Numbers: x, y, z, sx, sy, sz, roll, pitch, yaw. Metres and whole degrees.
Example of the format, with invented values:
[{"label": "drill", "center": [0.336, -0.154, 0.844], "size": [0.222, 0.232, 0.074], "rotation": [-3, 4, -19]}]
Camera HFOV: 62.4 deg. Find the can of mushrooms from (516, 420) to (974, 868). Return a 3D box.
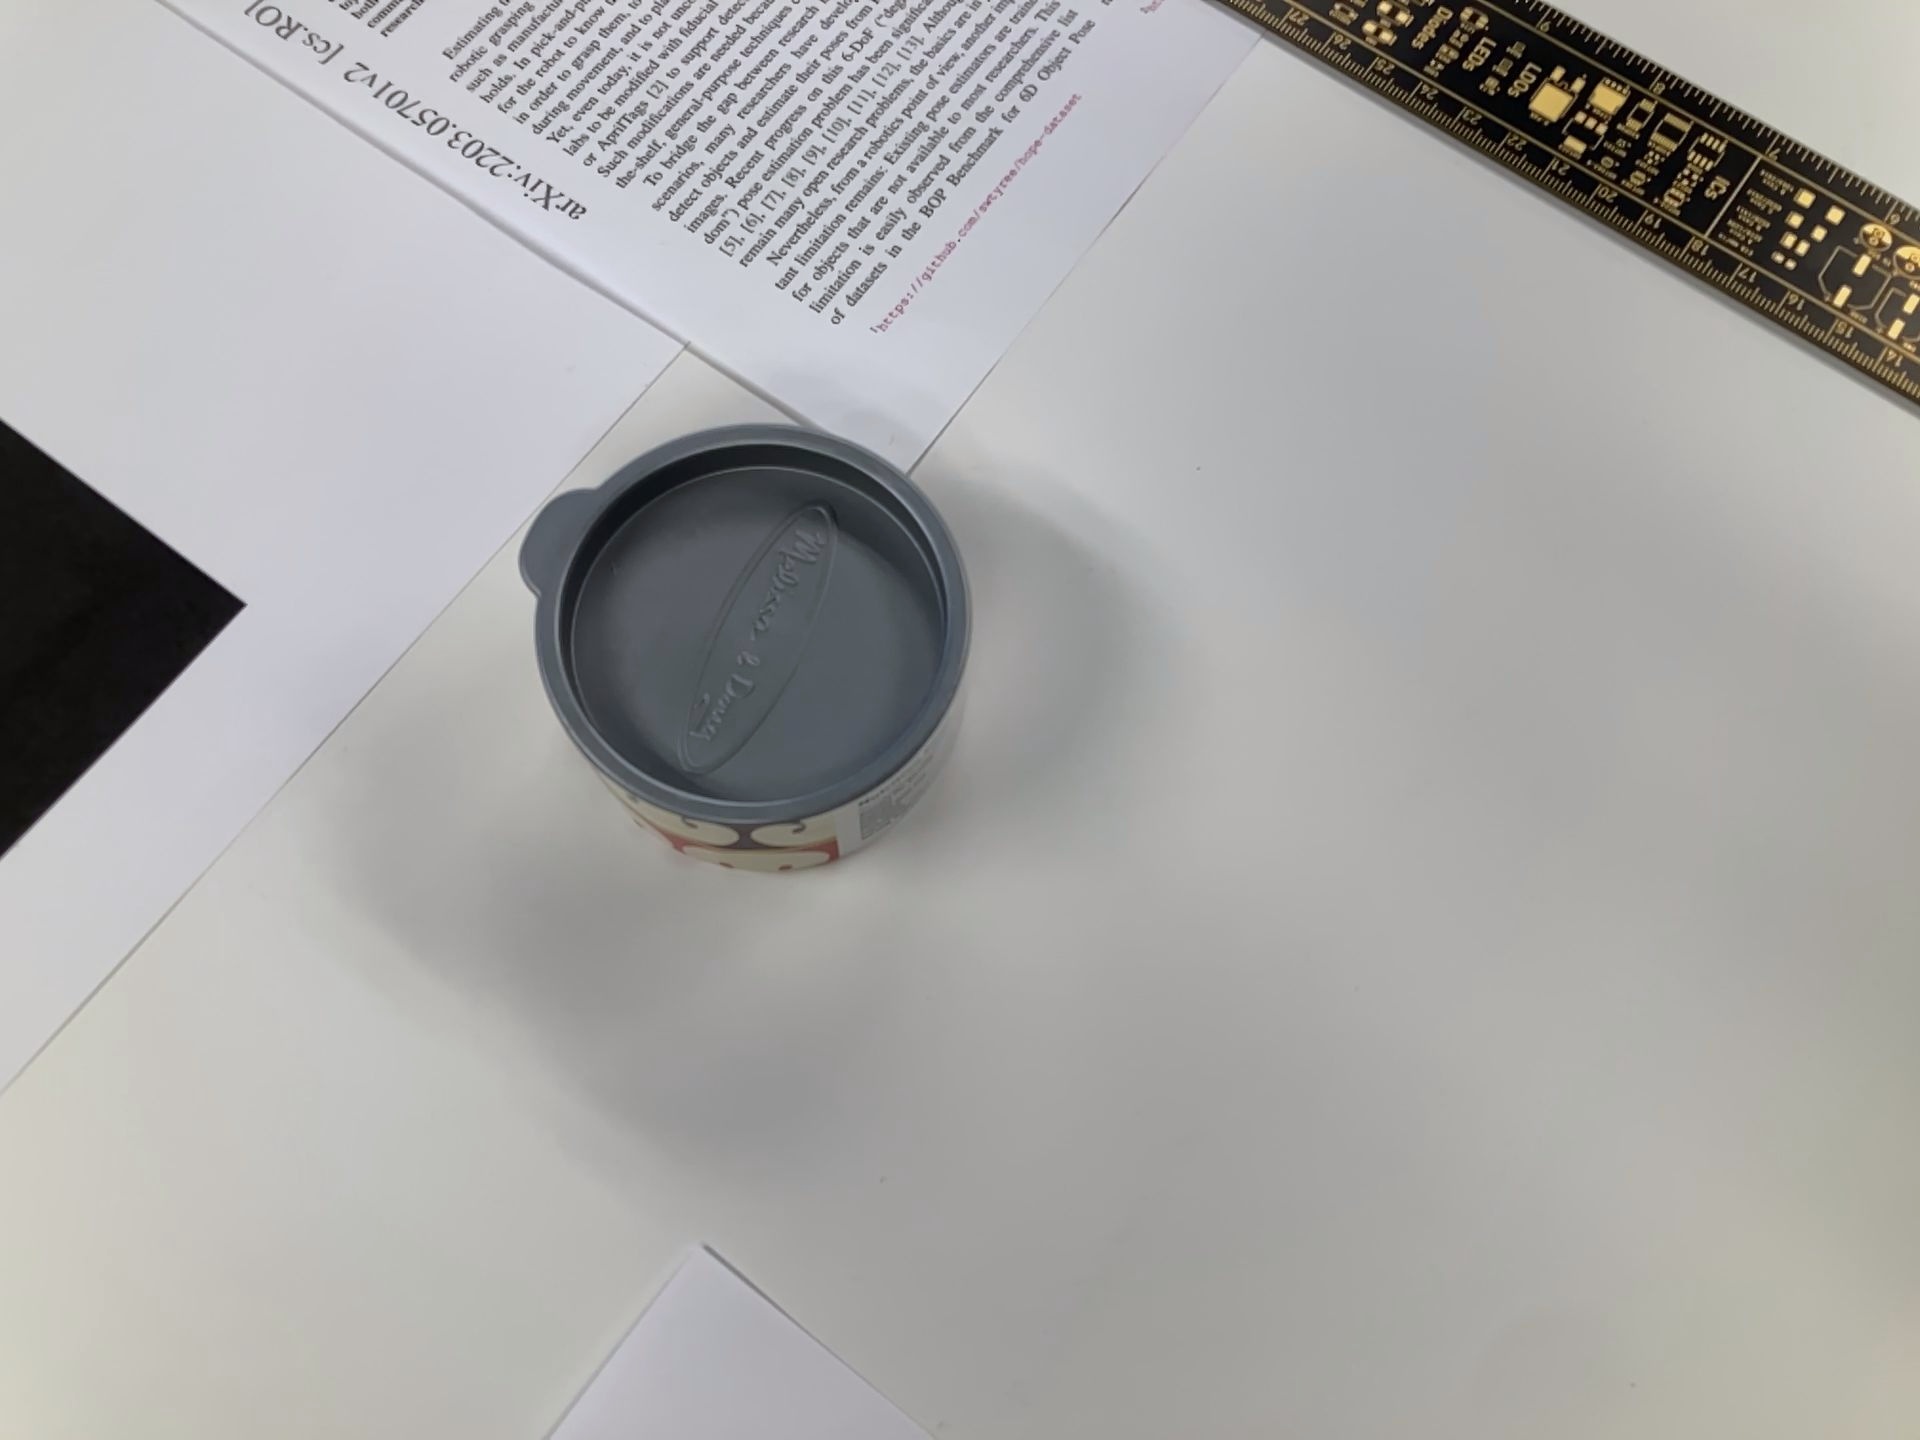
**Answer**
[{"label": "can of mushrooms", "center": [-0.034, -0.012, 0.254], "size": [0.071, 0.033, 0.071], "rotation": [0, 72, -1]}]
